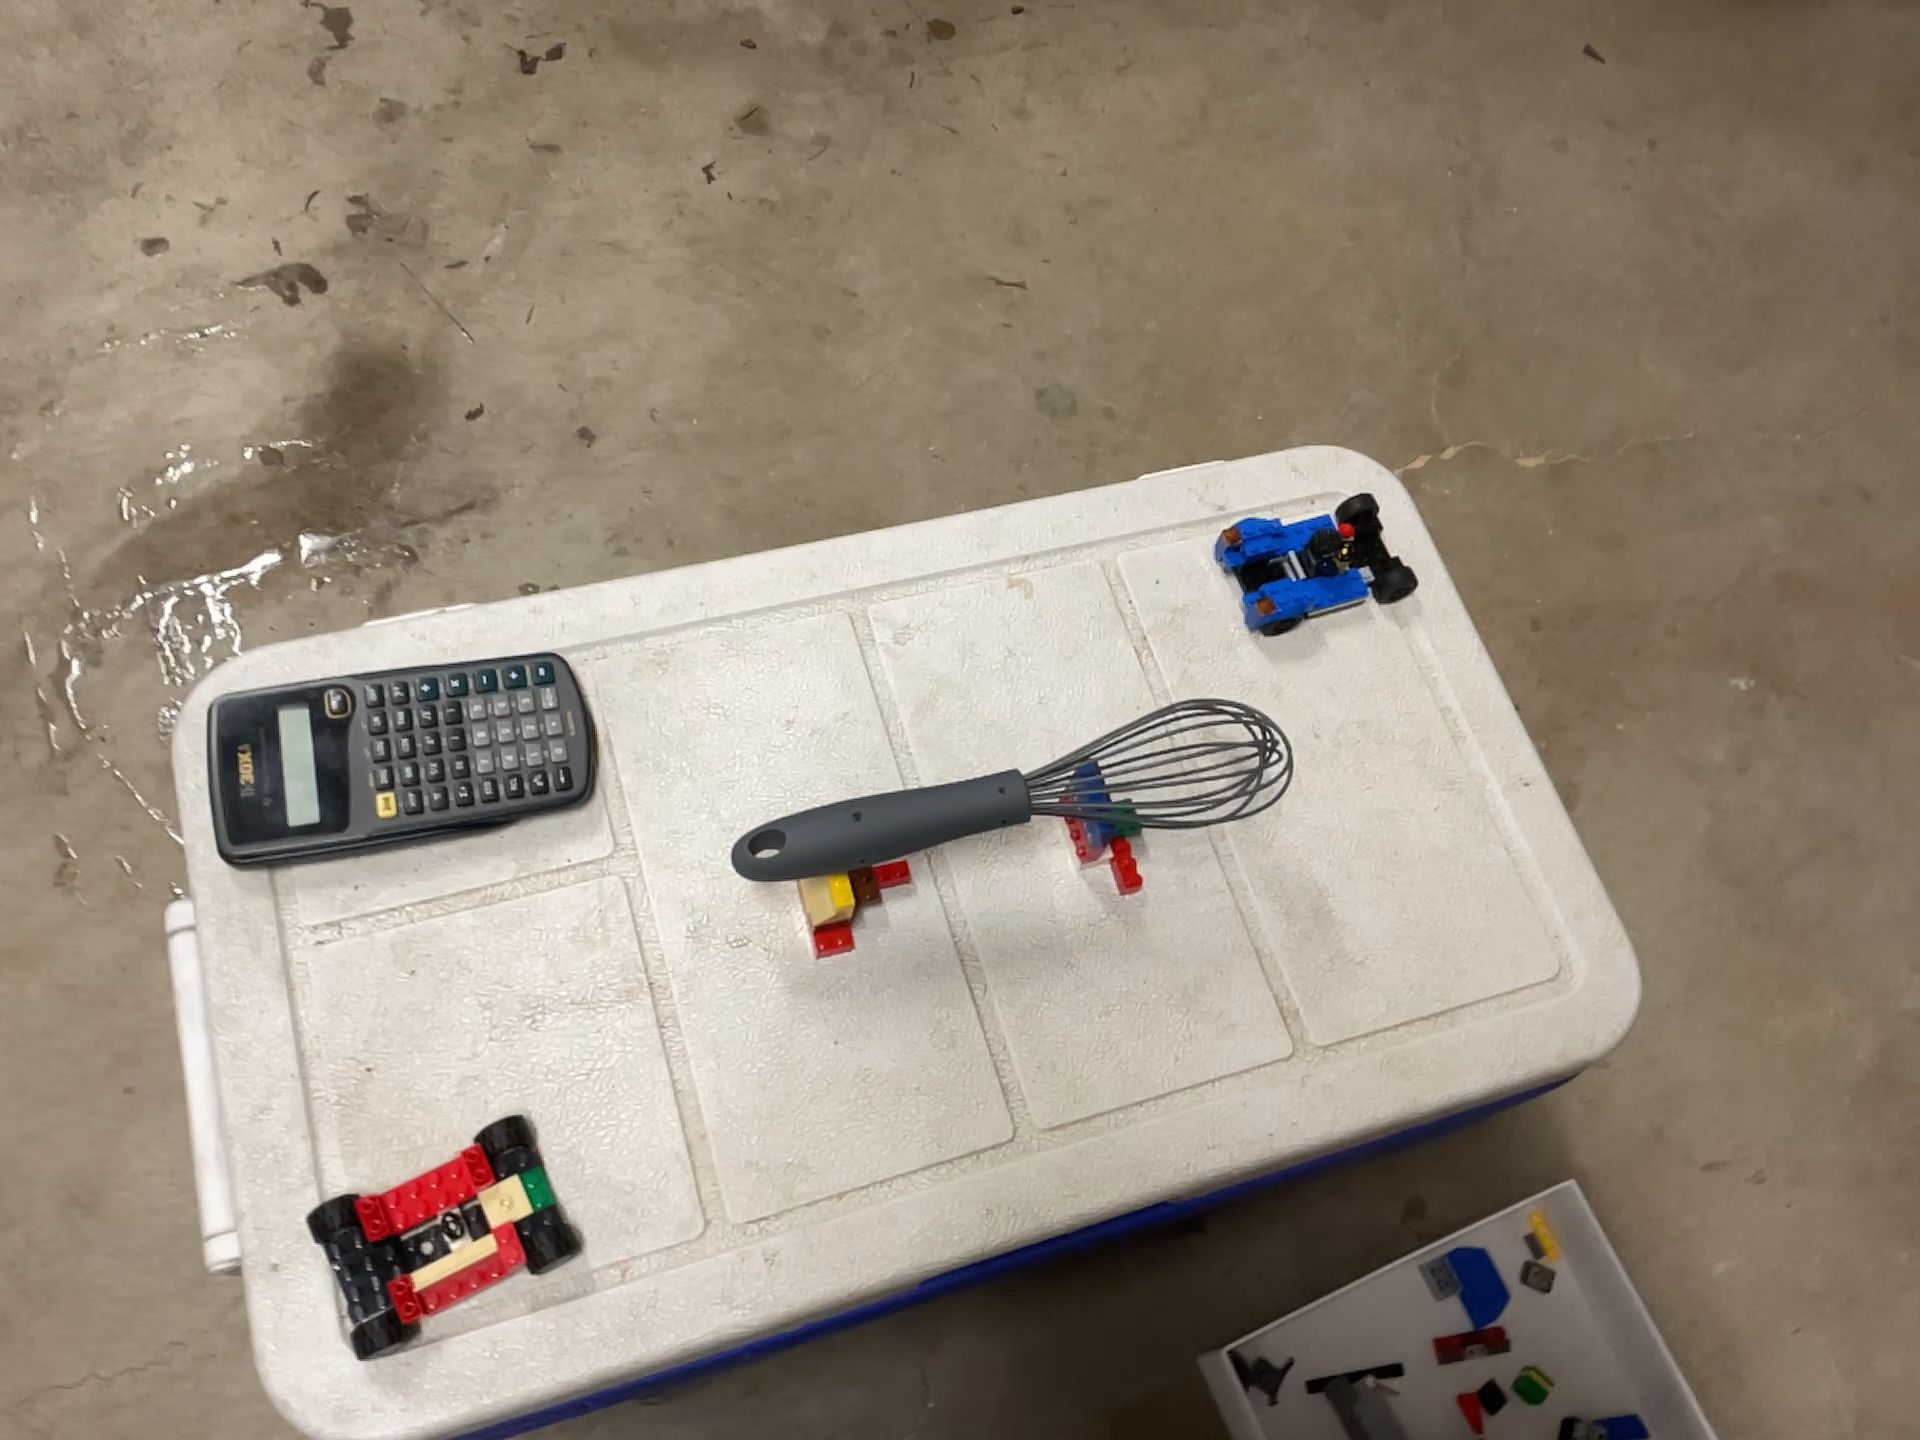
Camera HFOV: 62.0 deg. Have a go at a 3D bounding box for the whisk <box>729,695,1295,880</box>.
[{"bbox_3d":[0.023,0.030,0.656,0.239,0.055,0.055,-11,65,-9],"label":"whisk"}]
